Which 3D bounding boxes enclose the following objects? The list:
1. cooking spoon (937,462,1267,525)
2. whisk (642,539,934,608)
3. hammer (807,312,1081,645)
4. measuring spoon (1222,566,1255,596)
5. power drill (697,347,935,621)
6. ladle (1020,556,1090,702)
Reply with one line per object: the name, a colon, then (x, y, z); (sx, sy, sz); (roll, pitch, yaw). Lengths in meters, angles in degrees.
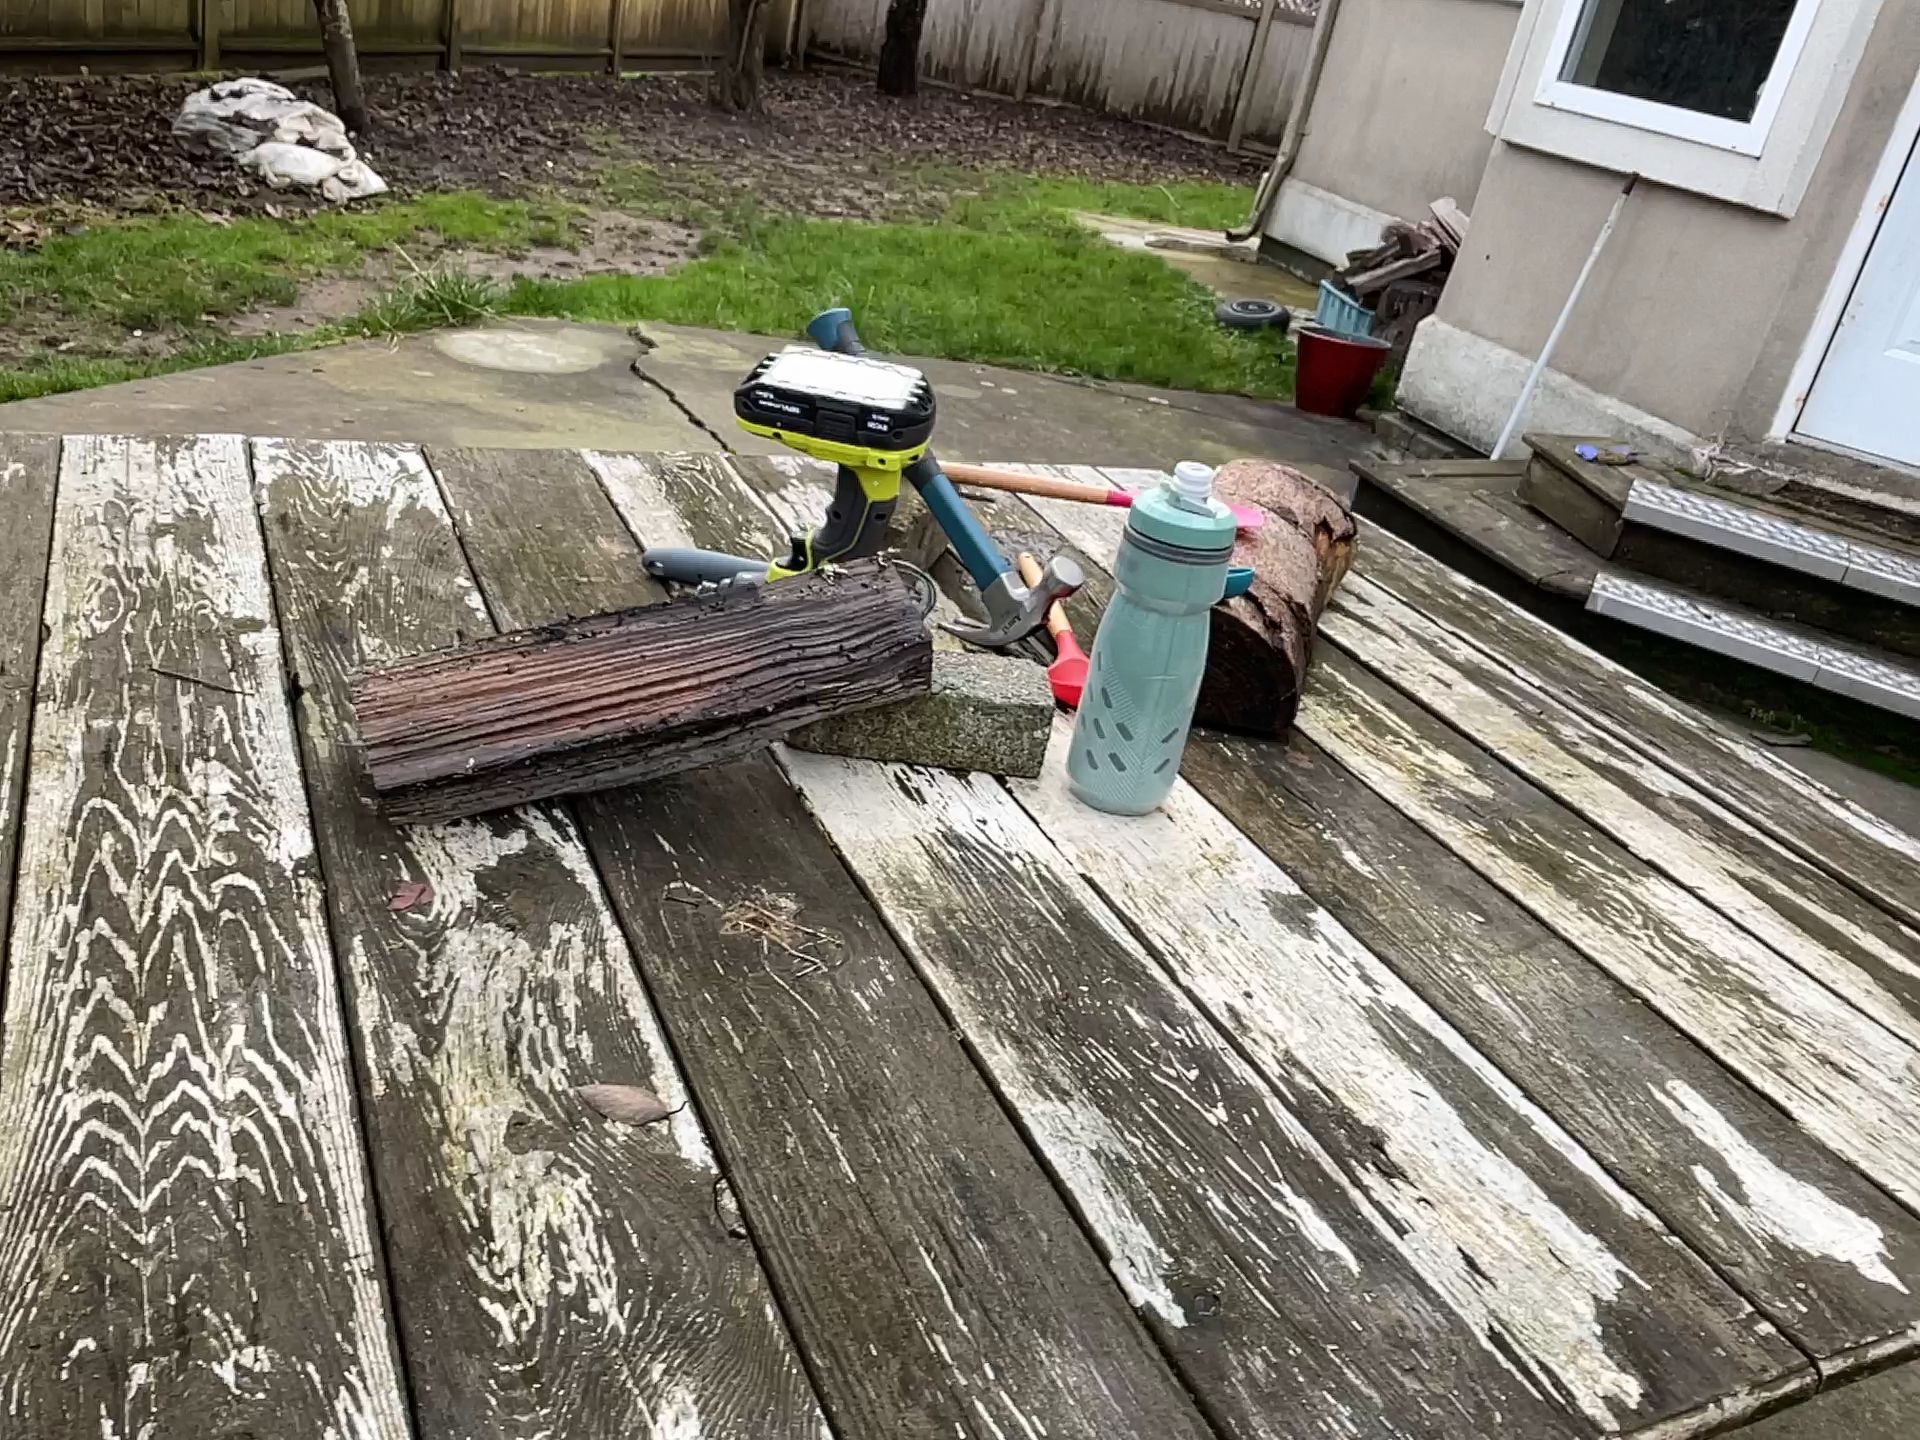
cooking spoon: (0.107, -0.198, 1.386); (0.319, 0.017, 0.069); (10, 26, 7)
whisk: (-0.139, -0.120, 1.279); (0.239, 0.055, 0.055); (9, 17, 4)
hammer: (-0.030, -0.204, 1.301); (0.033, 0.128, 0.331); (-16, 68, -47)
measuring spoon: (0.172, -0.107, 1.232); (0.042, 0.021, 0.129); (-15, 14, -41)
power drill: (-0.105, -0.146, 1.158); (0.171, 0.223, 0.080); (12, 33, 5)
ladle: (0.081, -0.080, 1.320); (0.069, 0.031, 0.316); (3, 24, -10)
